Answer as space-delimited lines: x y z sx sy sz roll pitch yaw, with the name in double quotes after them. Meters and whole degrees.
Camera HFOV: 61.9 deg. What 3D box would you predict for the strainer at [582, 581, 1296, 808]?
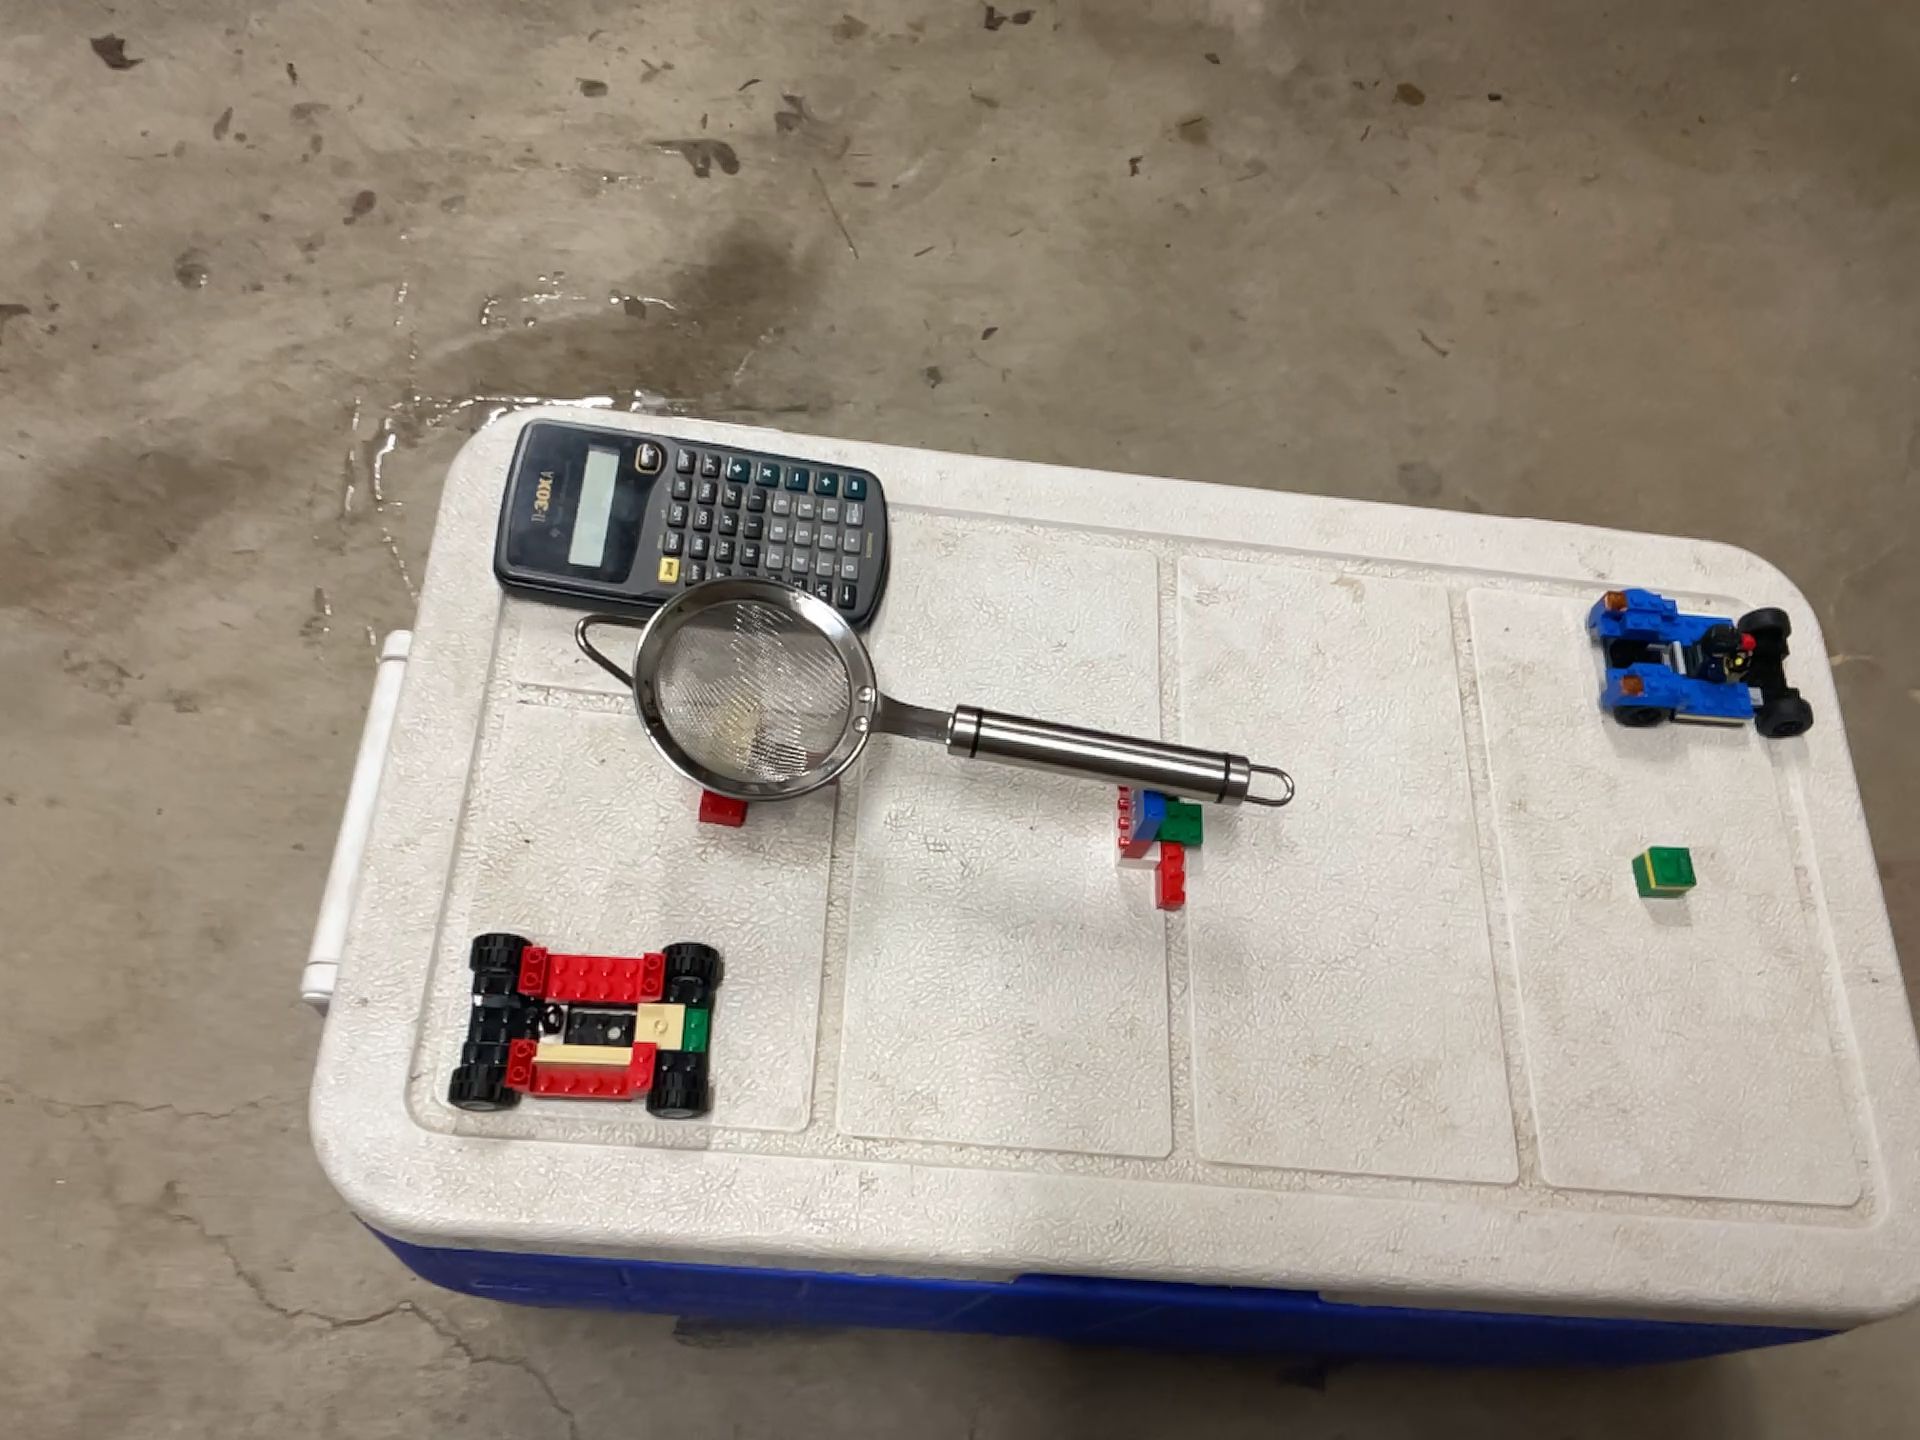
-0.005 0.005 0.574 0.259 0.050 0.087 10 64 -5 "strainer"
